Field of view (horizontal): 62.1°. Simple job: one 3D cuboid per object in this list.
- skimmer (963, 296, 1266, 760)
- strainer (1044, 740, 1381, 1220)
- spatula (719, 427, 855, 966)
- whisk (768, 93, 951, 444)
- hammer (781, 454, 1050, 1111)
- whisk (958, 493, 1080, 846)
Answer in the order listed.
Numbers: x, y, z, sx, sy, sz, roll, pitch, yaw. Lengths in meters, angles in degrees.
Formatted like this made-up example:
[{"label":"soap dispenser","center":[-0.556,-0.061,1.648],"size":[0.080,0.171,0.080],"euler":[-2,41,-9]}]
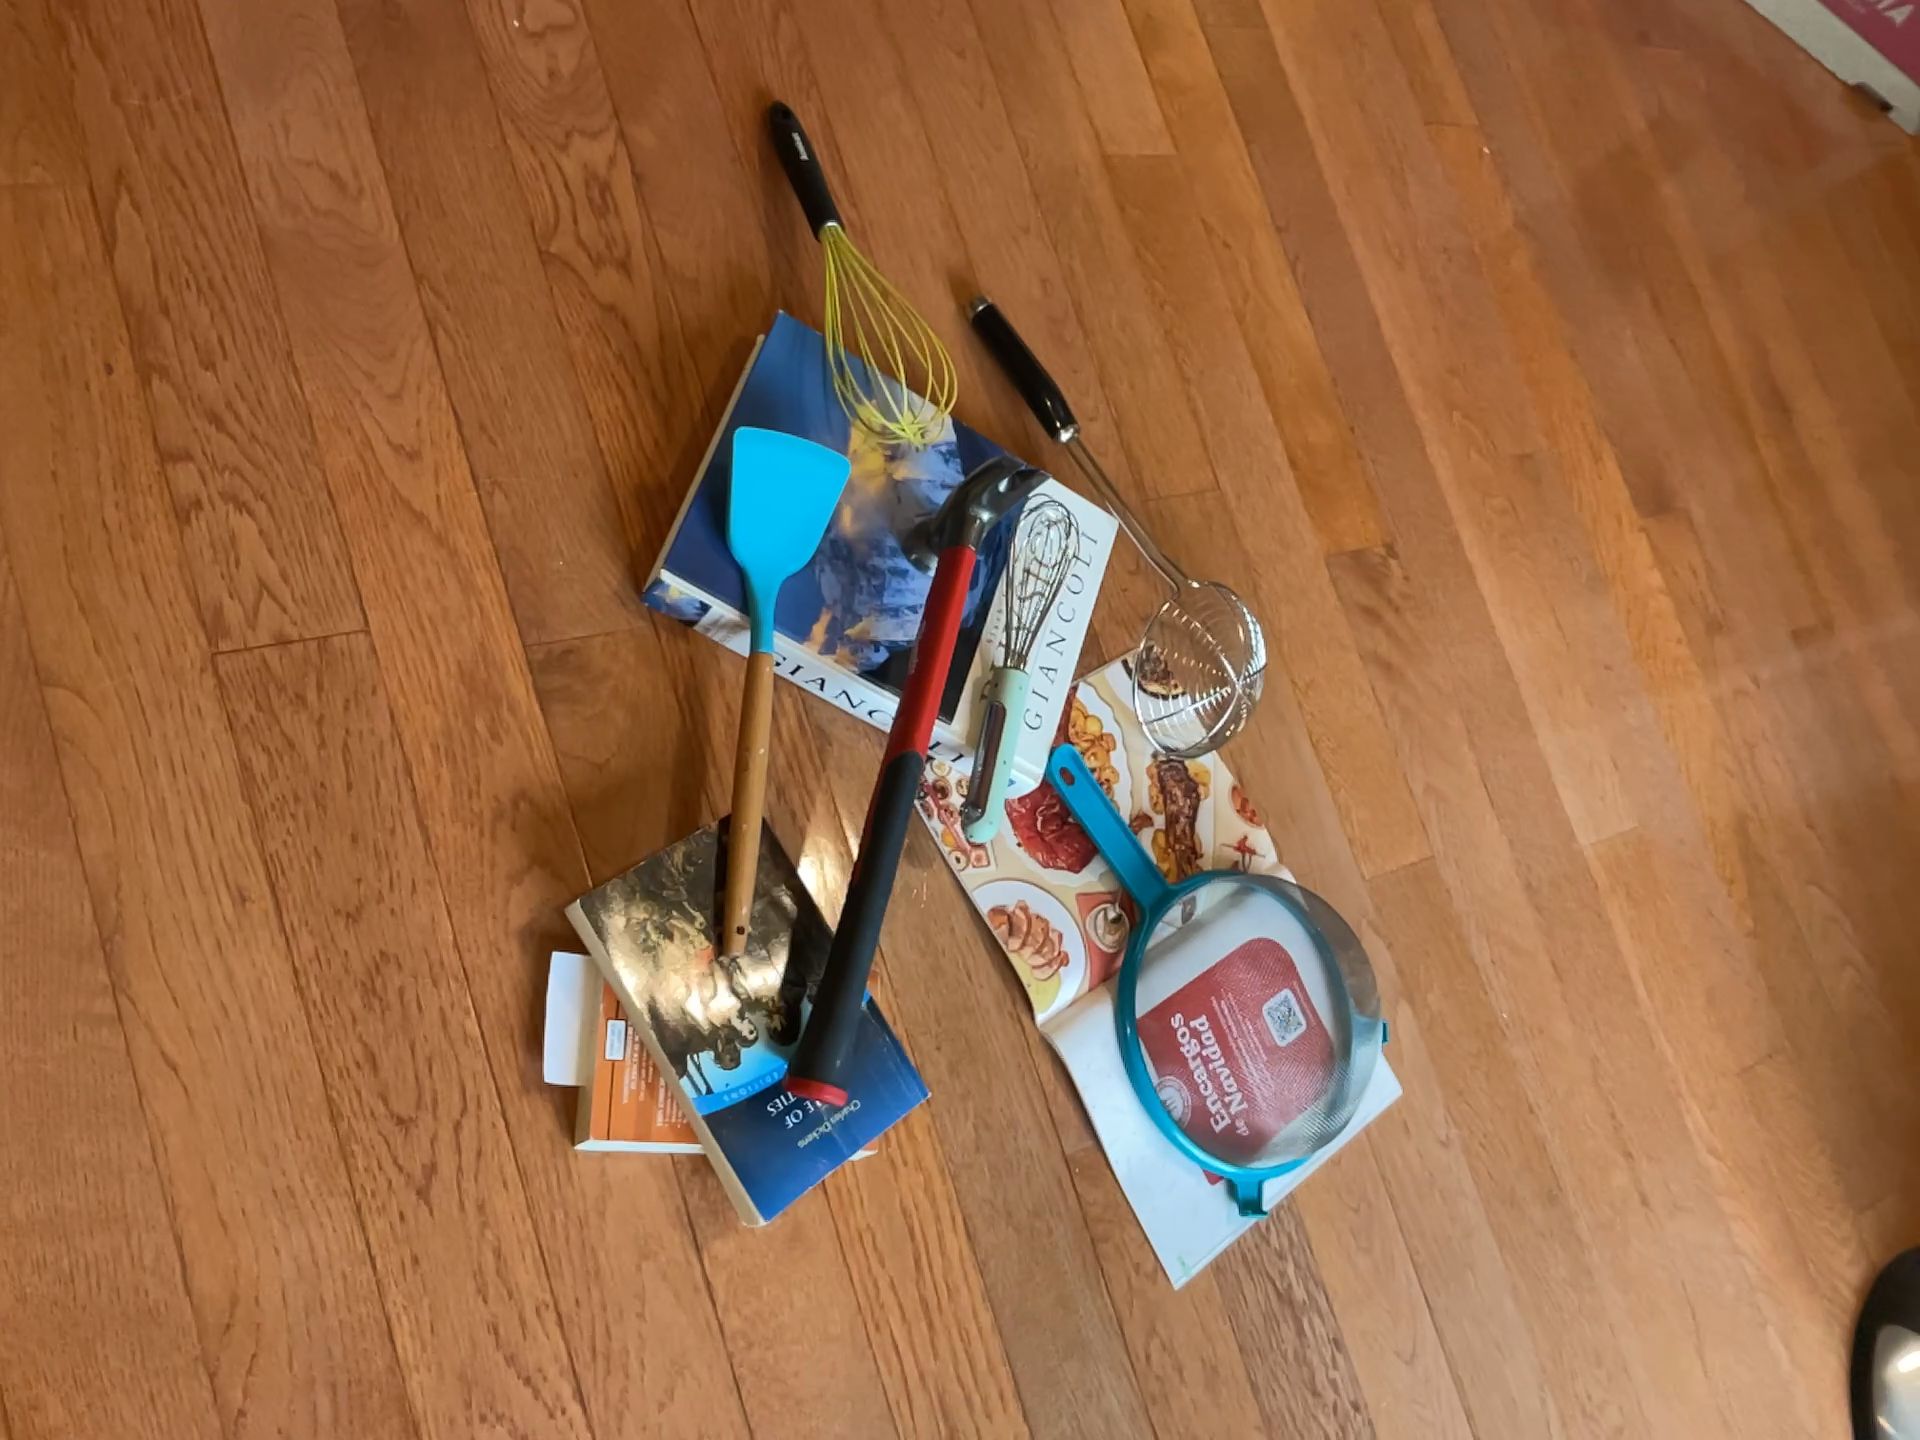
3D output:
[{"label":"skimmer","center":[0.098,-0.142,1.156],"size":[0.127,0.090,0.363],"euler":[-27,78,-32]},{"label":"strainer","center":[0.175,0.148,1.051],"size":[0.211,0.095,0.340],"euler":[-41,103,-33]},{"label":"spatula","center":[-0.116,-0.016,0.932],"size":[0.082,0.044,0.318],"euler":[14,67,-28]},{"label":"whisk","center":[-0.080,-0.308,1.070],"size":[0.080,0.067,0.312],"euler":[-13,65,-18]},{"label":"hammer","center":[-0.030,0.030,0.920],"size":[0.038,0.143,0.387],"euler":[22,66,-19]},{"label":"whisk","center":[0.034,-0.036,1.032],"size":[0.059,0.057,0.247],"euler":[39,58,-51]}]
